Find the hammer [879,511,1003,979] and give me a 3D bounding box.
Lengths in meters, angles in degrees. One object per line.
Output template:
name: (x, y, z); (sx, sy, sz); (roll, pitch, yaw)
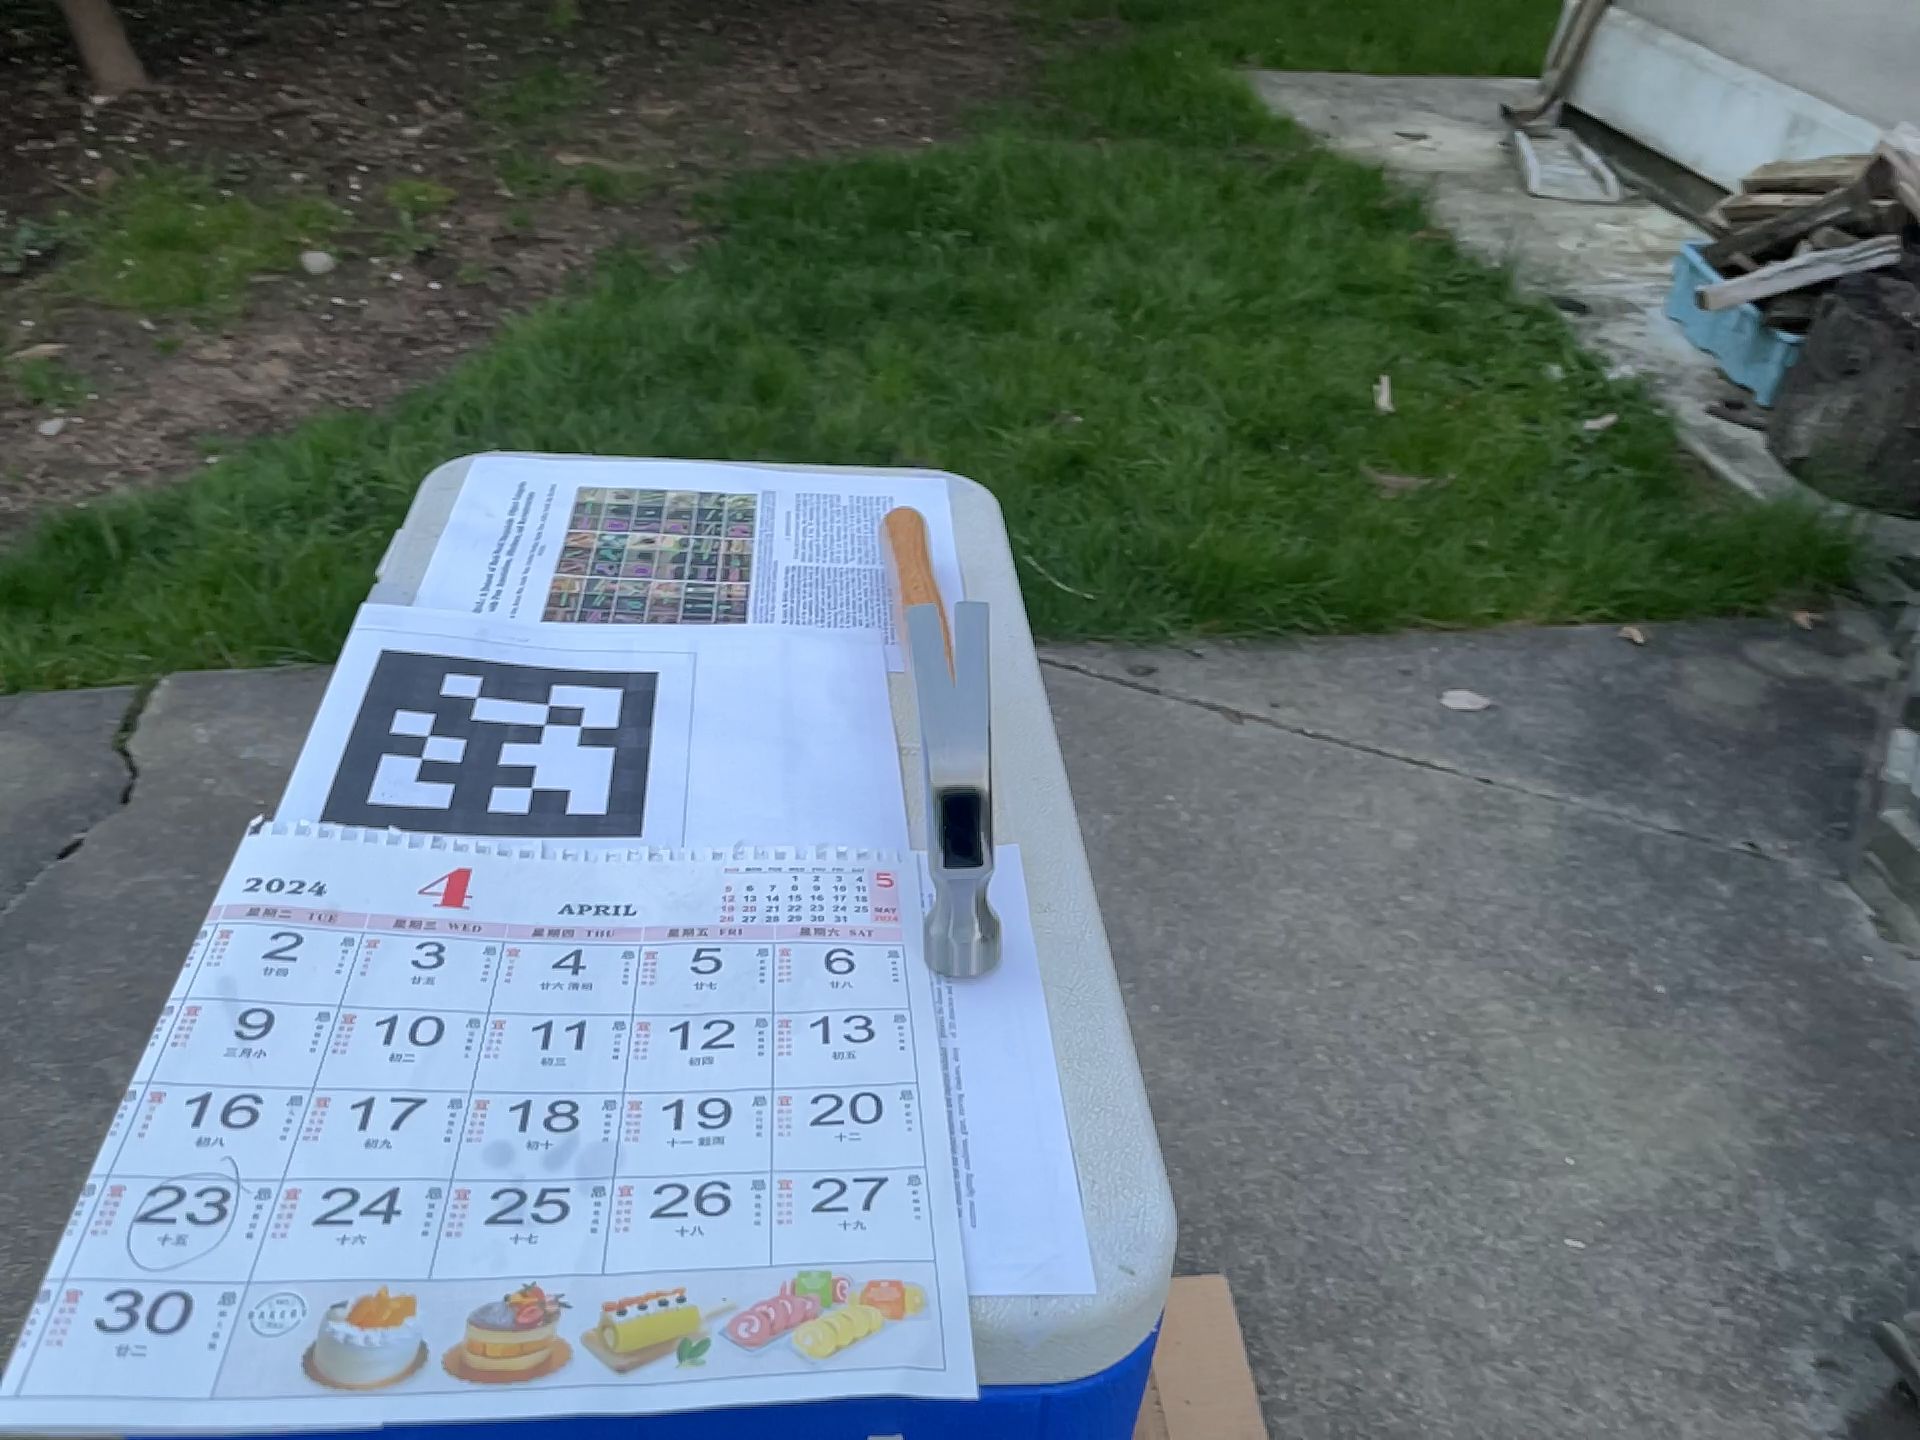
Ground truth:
hammer: (-0.015, -0.031, 0.703); (0.031, 0.130, 0.331); (-3, 26, -5)
